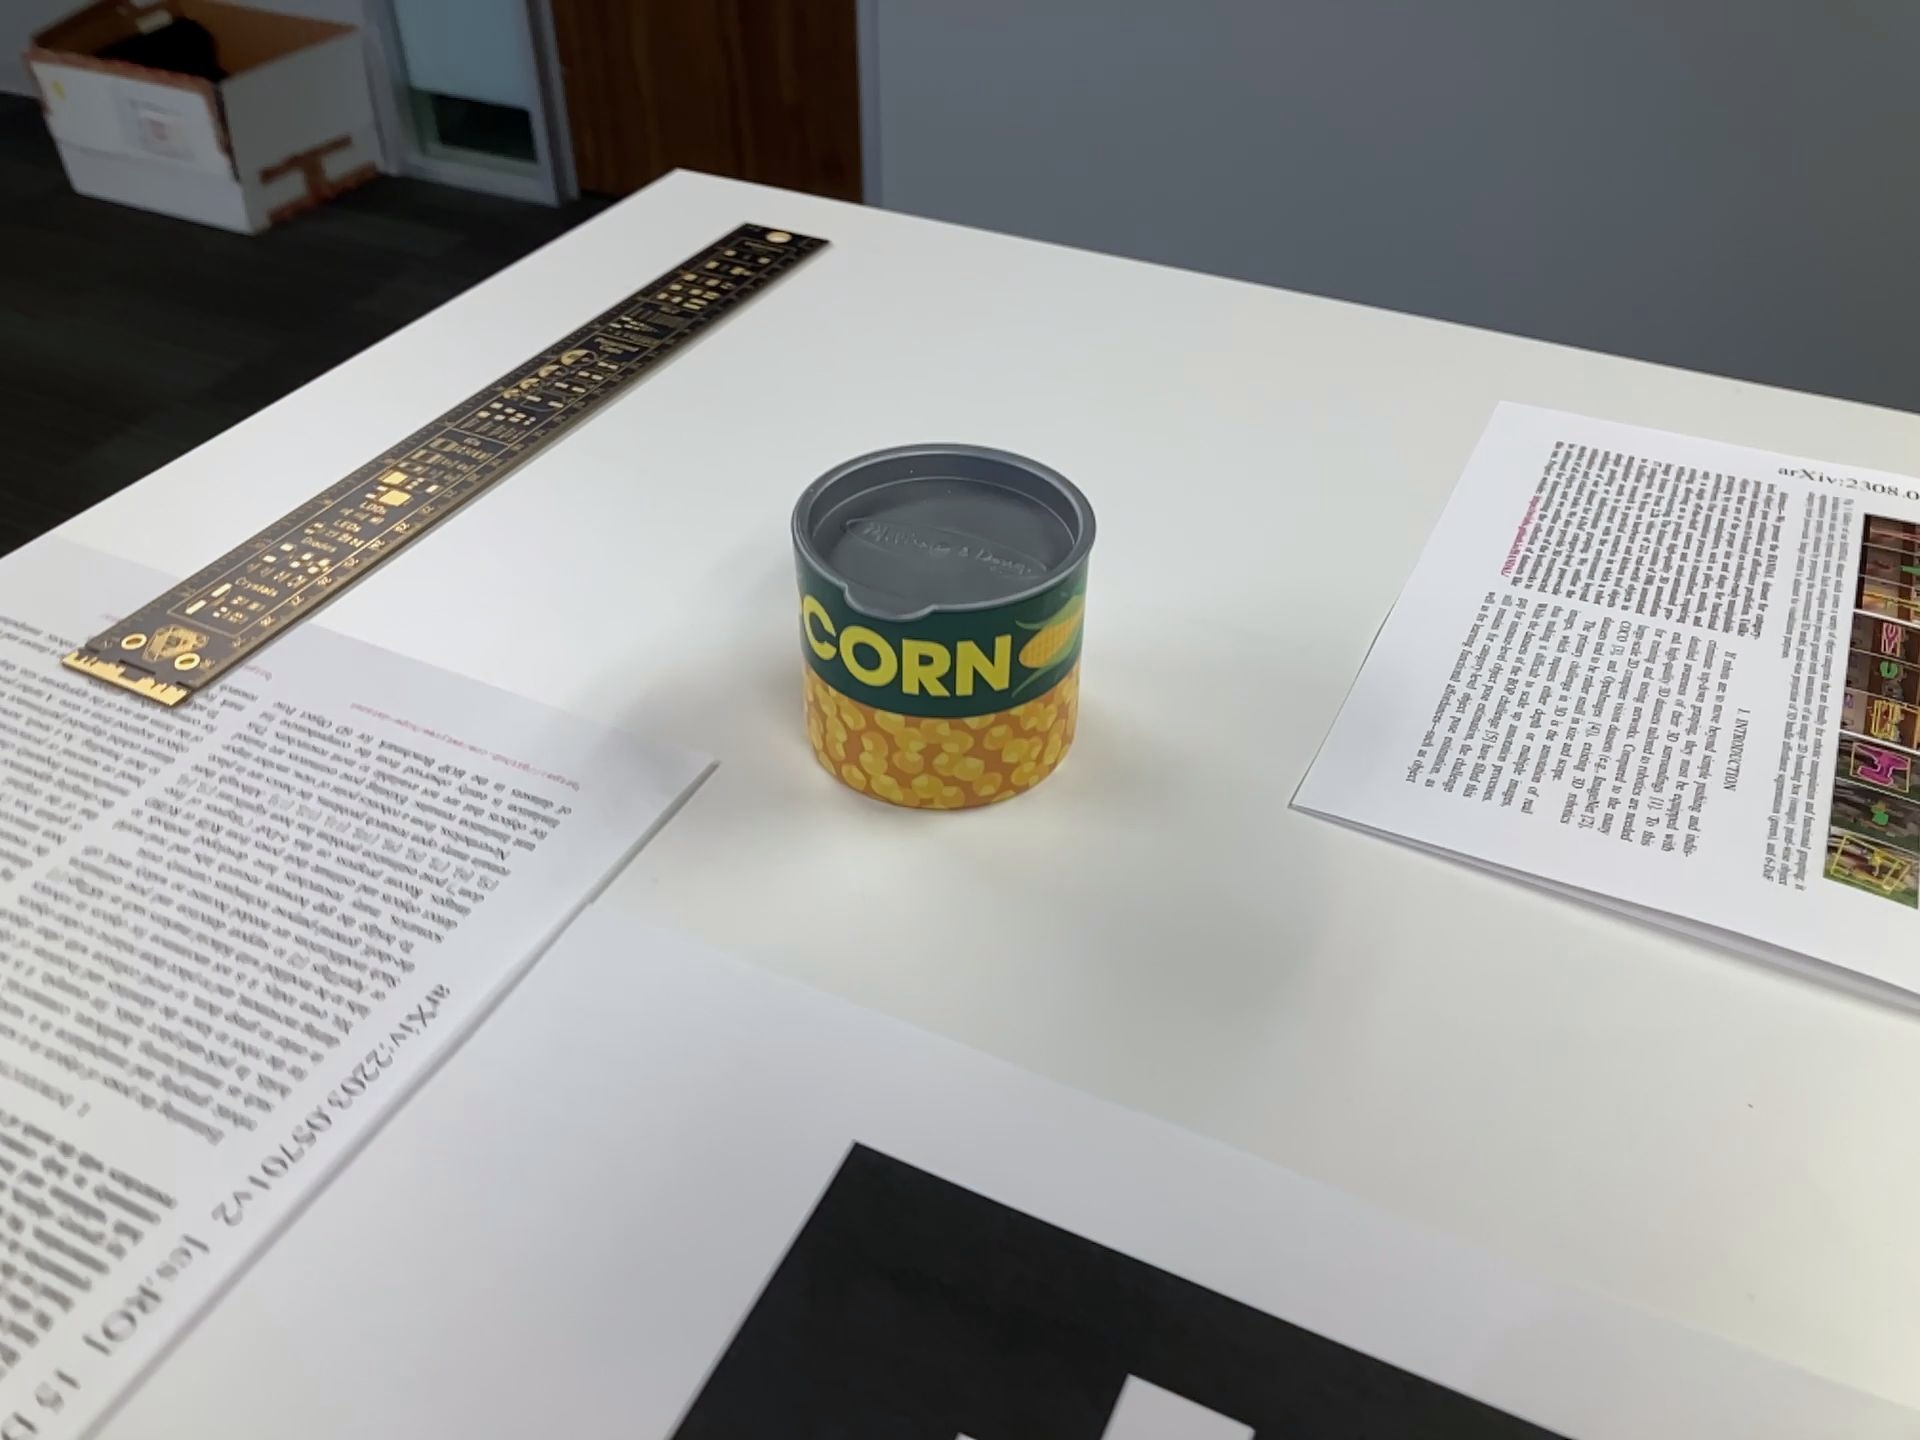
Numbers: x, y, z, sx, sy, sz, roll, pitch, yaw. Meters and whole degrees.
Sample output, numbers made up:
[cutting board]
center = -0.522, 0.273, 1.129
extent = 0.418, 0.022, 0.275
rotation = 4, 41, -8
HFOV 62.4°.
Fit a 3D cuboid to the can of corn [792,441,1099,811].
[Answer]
[can of corn]
center = -0.005, -0.020, 0.359
extent = 0.071, 0.058, 0.071
rotation = 1, 39, -1
